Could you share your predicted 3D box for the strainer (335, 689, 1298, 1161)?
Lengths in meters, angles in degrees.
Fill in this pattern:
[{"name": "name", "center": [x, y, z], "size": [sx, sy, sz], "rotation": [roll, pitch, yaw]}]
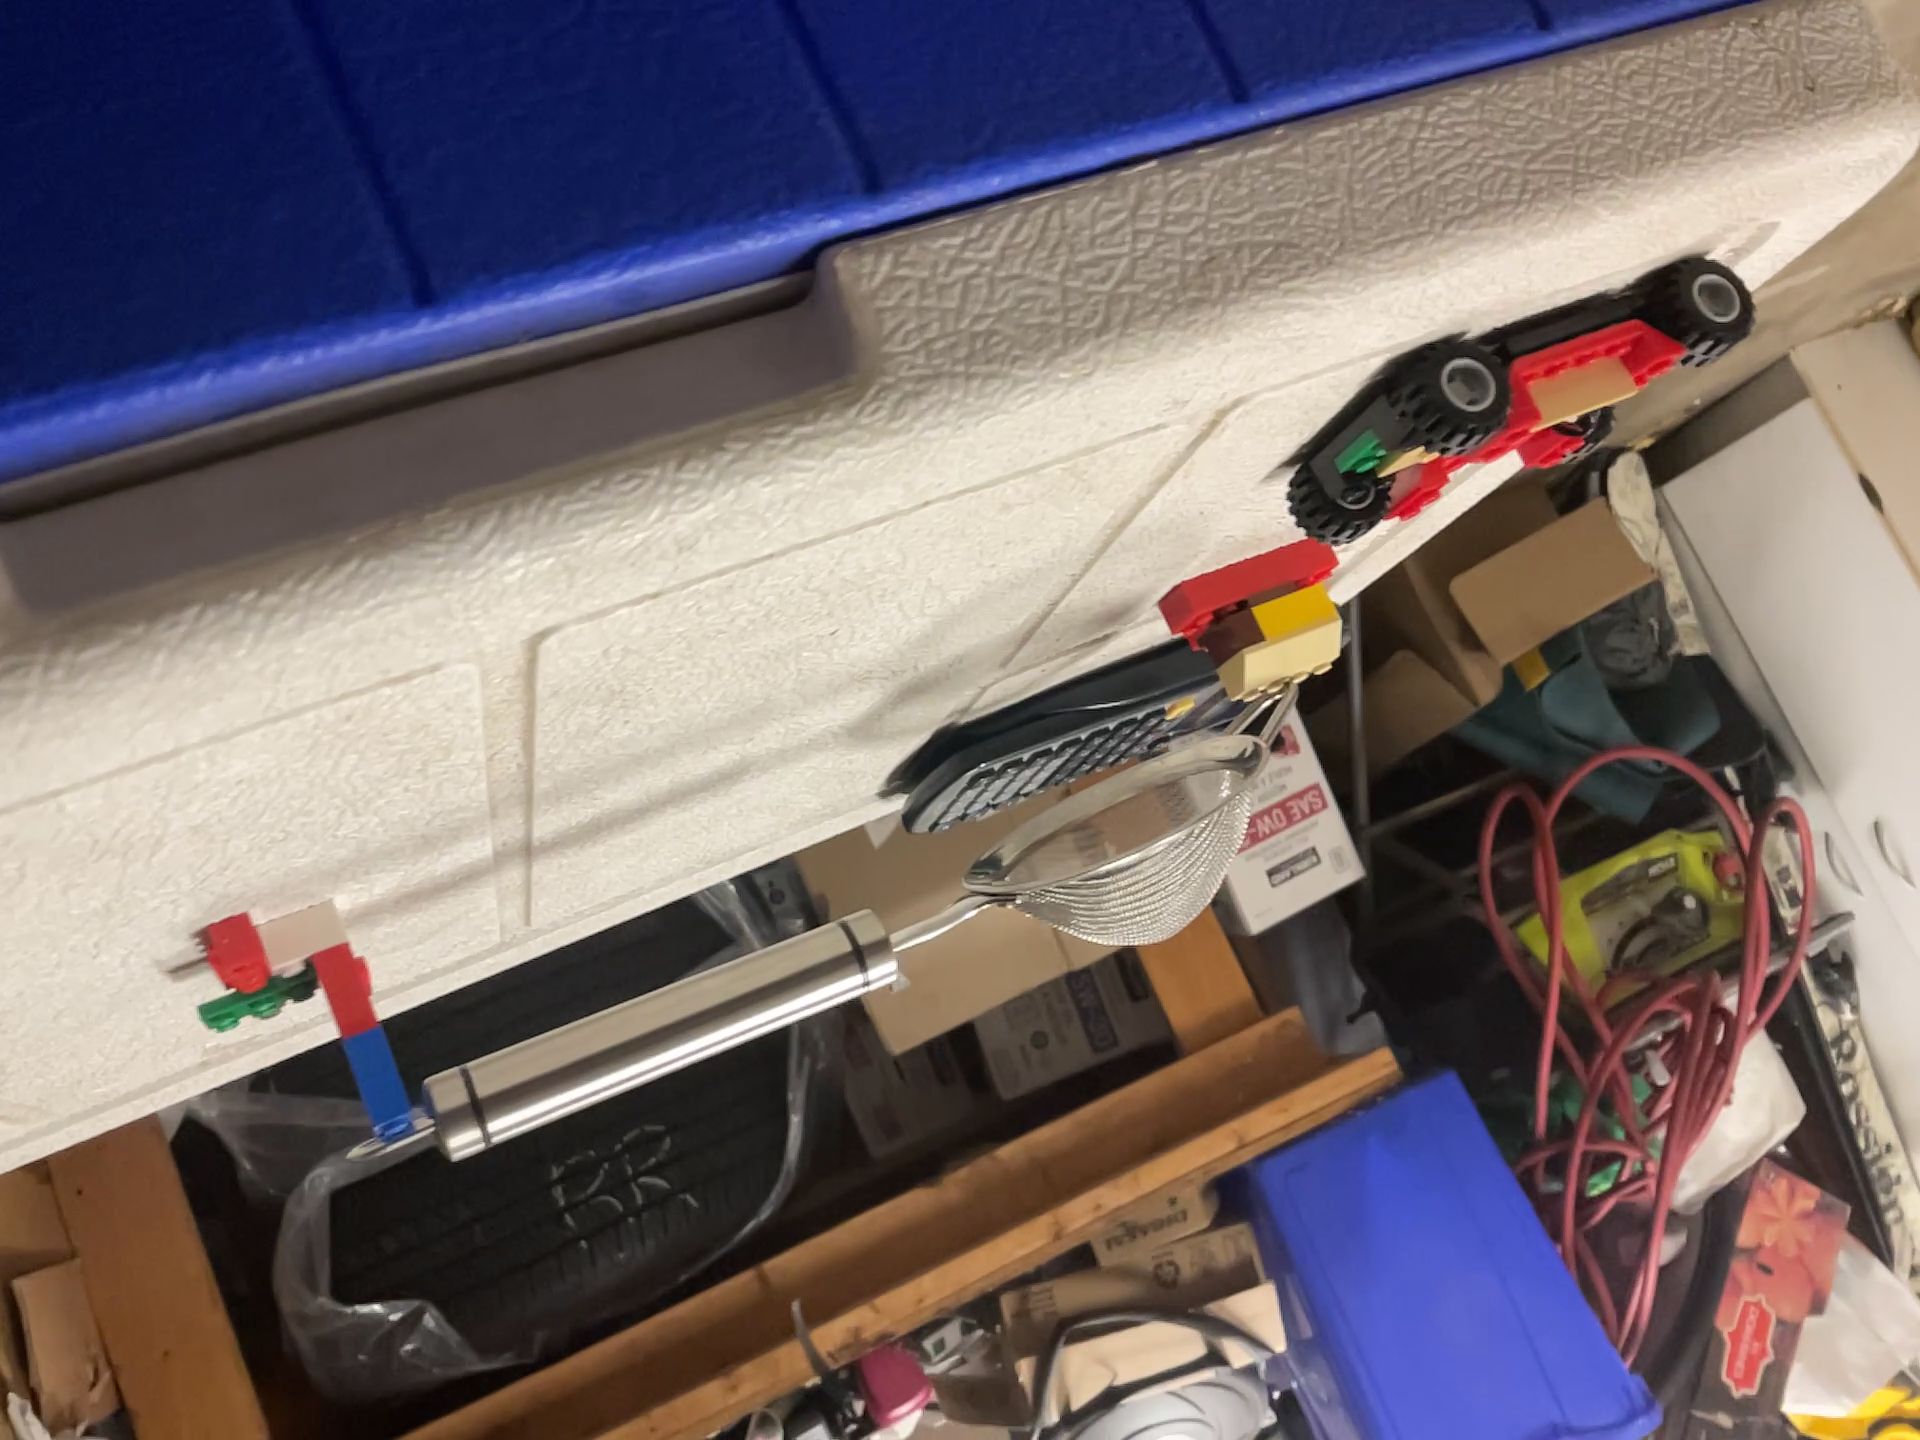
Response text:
[{"name": "strainer", "center": [-0.018, 0.054, 0.386], "size": [0.258, 0.050, 0.087], "rotation": [-19, -175, -21]}]
